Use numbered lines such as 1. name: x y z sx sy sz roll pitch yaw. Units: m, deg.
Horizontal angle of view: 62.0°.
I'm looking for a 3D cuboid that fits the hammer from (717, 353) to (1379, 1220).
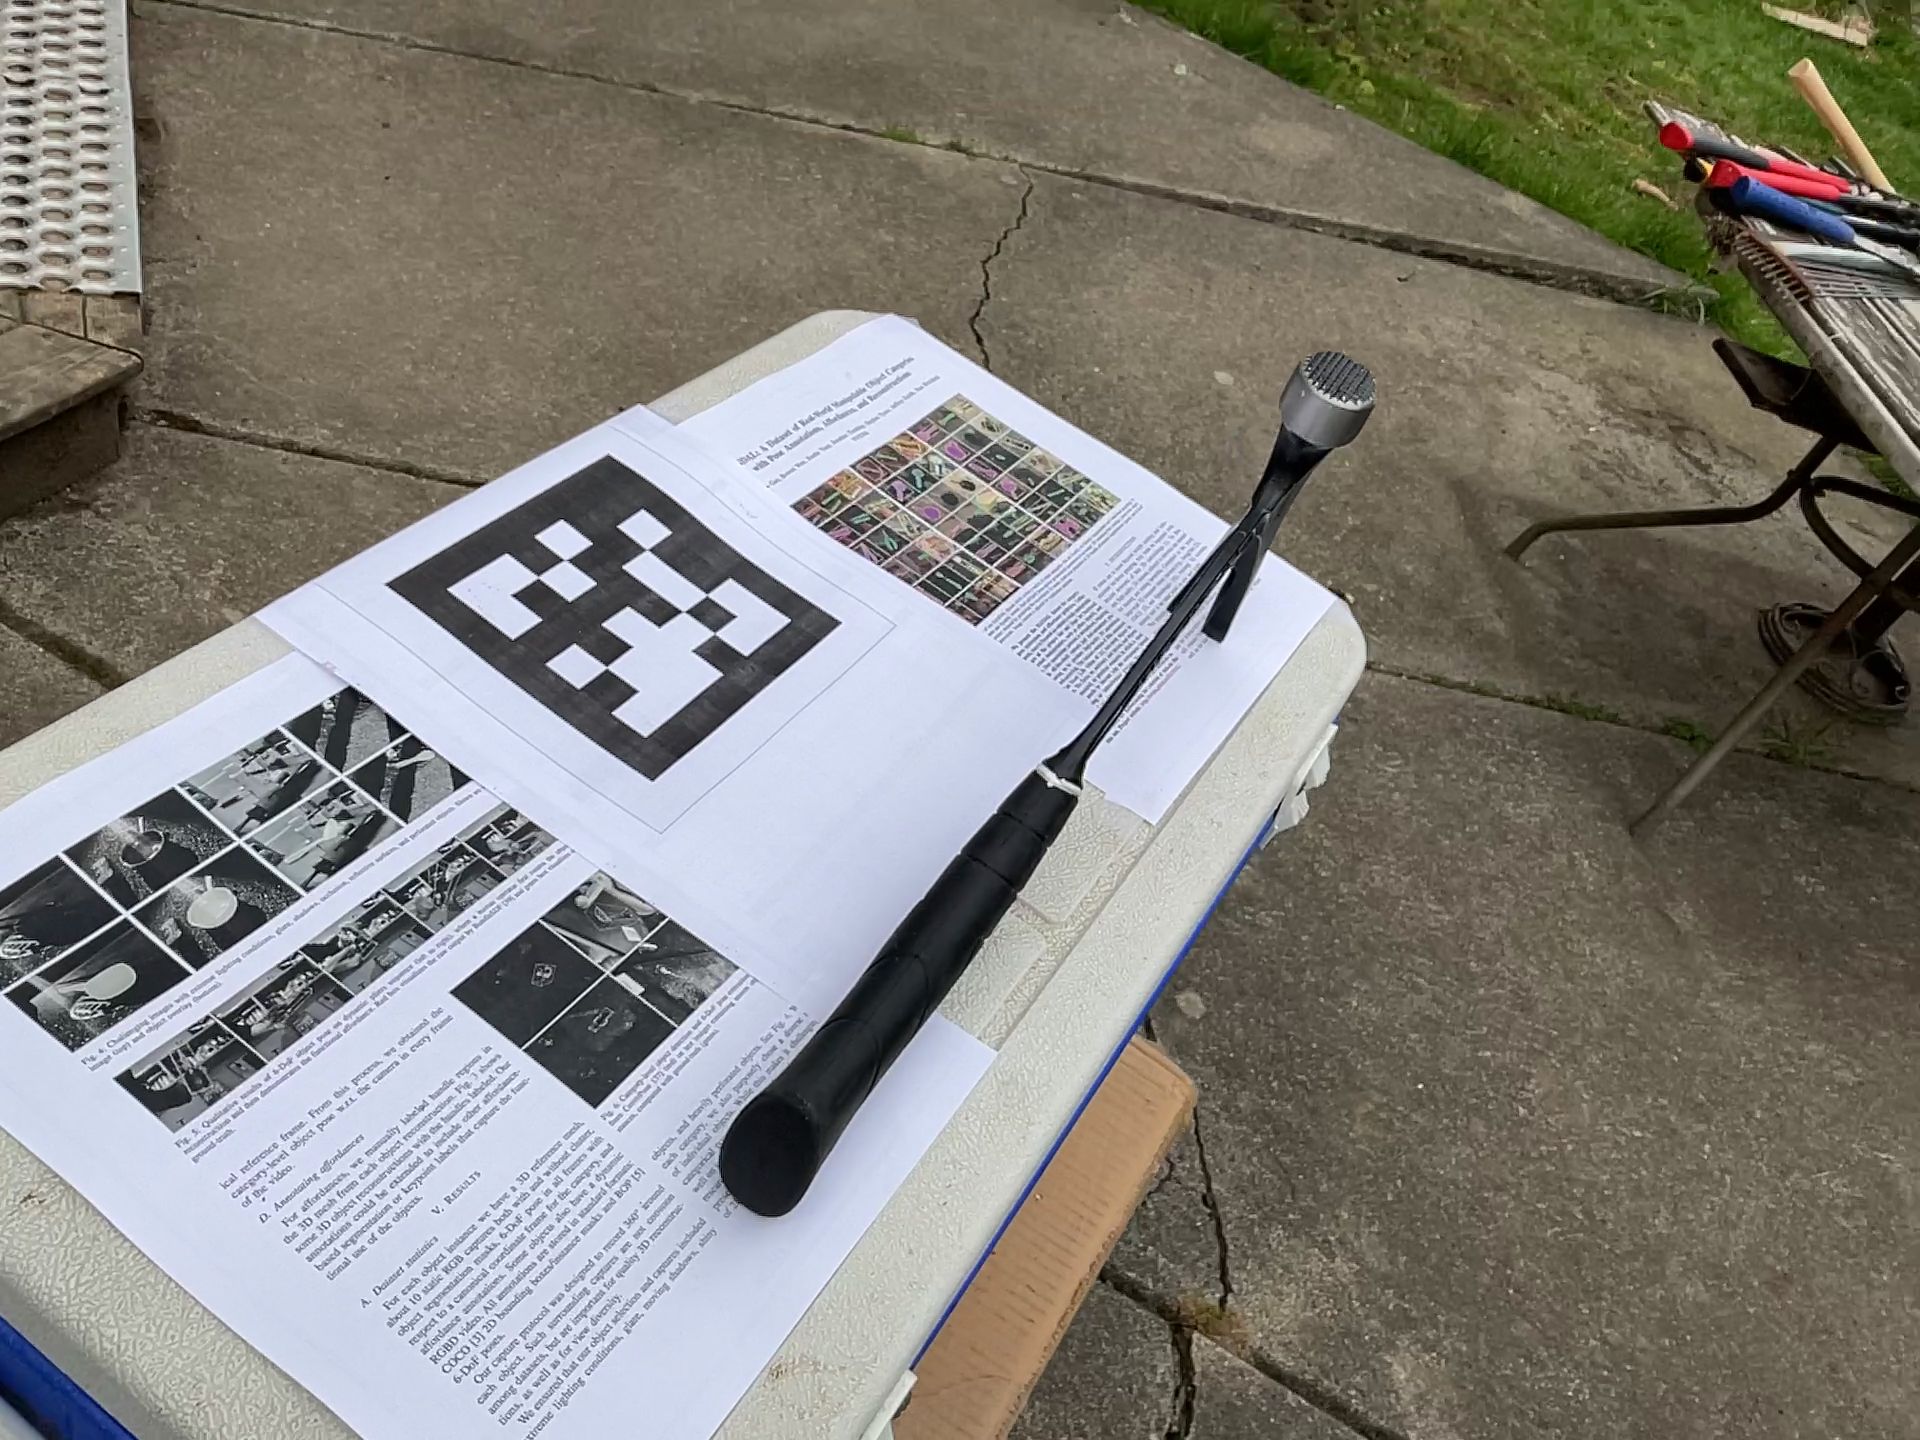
1. hammer: 0.042 0.015 0.594 0.036 0.149 0.409 34 52 9
